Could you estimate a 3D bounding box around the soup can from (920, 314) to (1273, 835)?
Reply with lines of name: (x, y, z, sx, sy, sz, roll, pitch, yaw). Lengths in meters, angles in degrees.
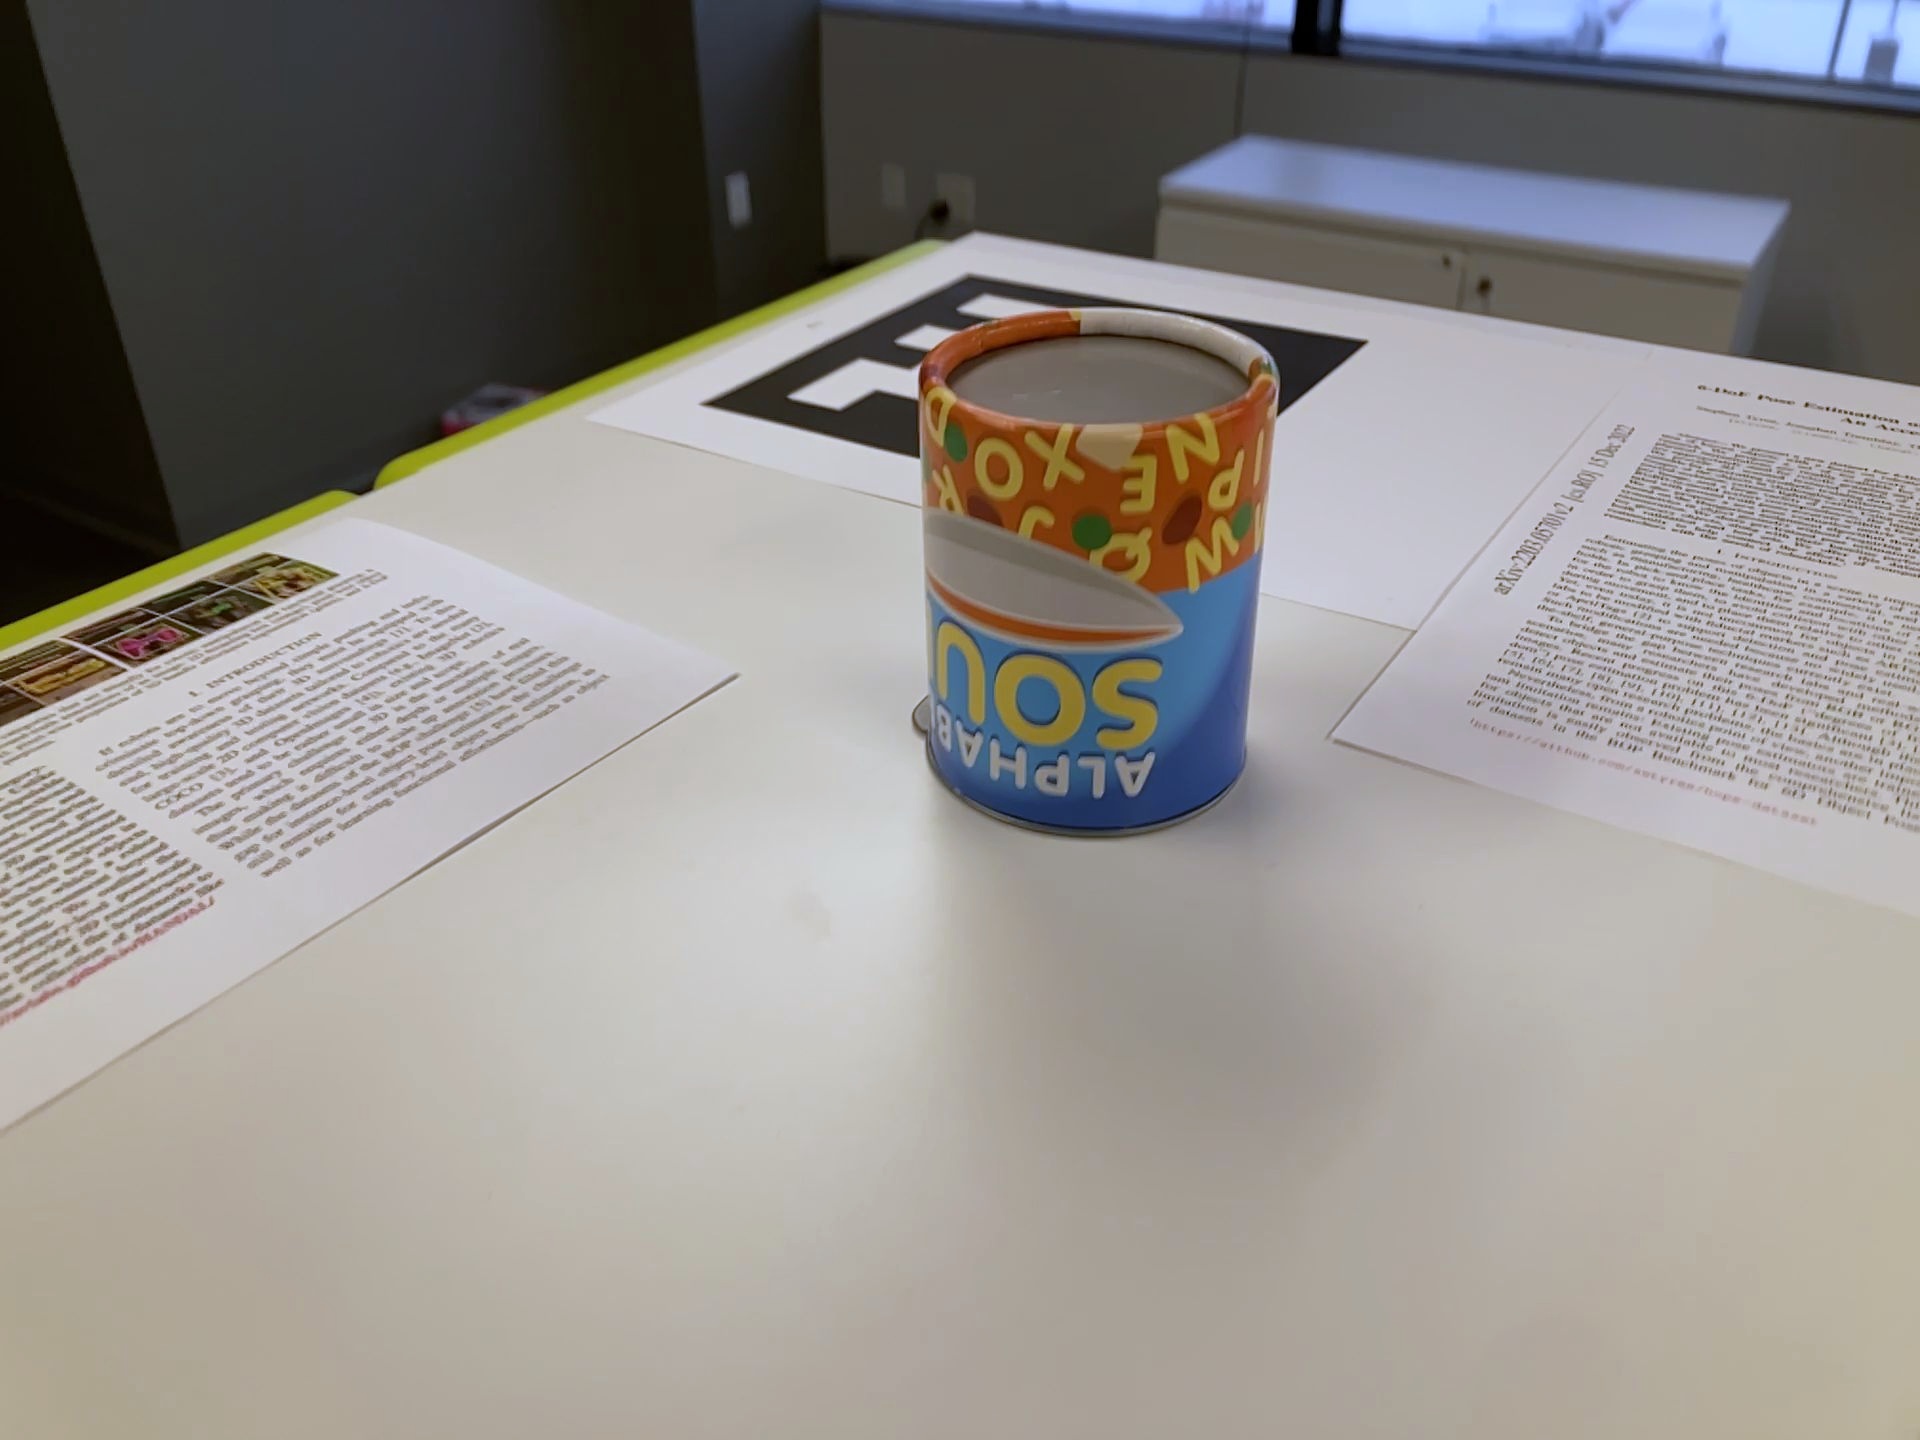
soup can: (0.024, -0.029, 0.313, 0.071, 0.084, 0.071, -1, 32, 1)
